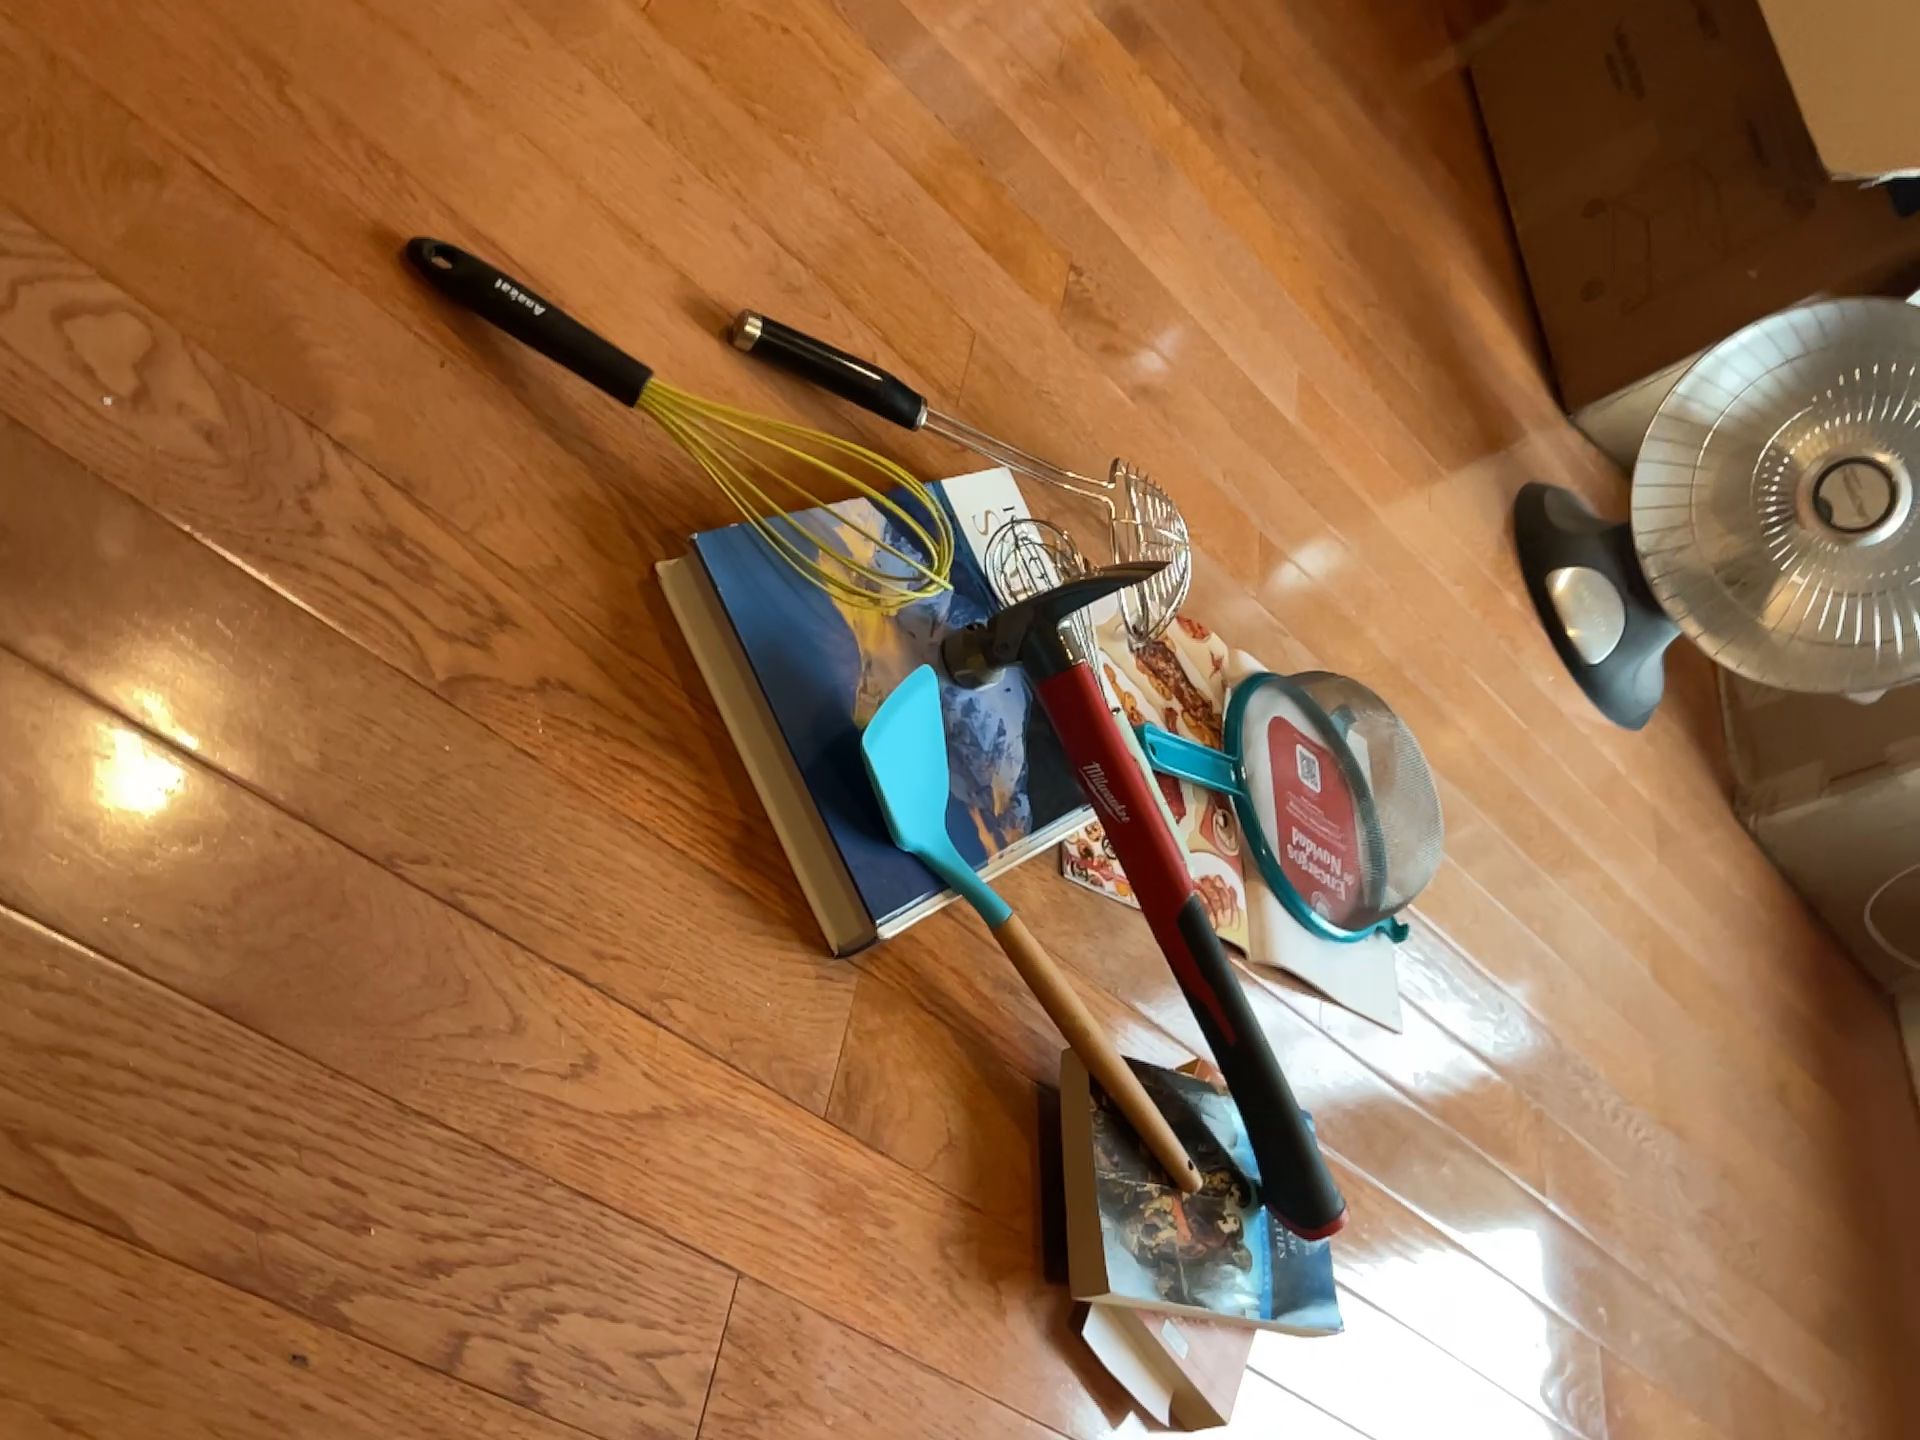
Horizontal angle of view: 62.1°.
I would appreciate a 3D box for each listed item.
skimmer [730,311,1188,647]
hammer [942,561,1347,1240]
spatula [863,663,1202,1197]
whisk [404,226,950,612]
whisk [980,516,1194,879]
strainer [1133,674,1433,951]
[{"bbox_3d":[0.007,-0.153,1.007,0.363,0.090,0.127,21,56,-28],"label":"skimmer"},{"bbox_3d":[0.129,0.104,0.863,0.038,0.143,0.386,-32,97,-49],"label":"hammer"},{"bbox_3d":[0.043,0.121,0.818,0.317,0.044,0.082,55,37,-11],"label":"spatula"},{"bbox_3d":[-0.134,-0.149,0.790,0.311,0.067,0.080,32,61,-14],"label":"whisk"},{"bbox_3d":[0.080,-0.008,0.940,0.246,0.057,0.059,64,7,-7],"label":"whisk"},{"bbox_3d":[0.243,0.038,1.100,0.340,0.095,0.211,21,55,-50],"label":"strainer"}]
